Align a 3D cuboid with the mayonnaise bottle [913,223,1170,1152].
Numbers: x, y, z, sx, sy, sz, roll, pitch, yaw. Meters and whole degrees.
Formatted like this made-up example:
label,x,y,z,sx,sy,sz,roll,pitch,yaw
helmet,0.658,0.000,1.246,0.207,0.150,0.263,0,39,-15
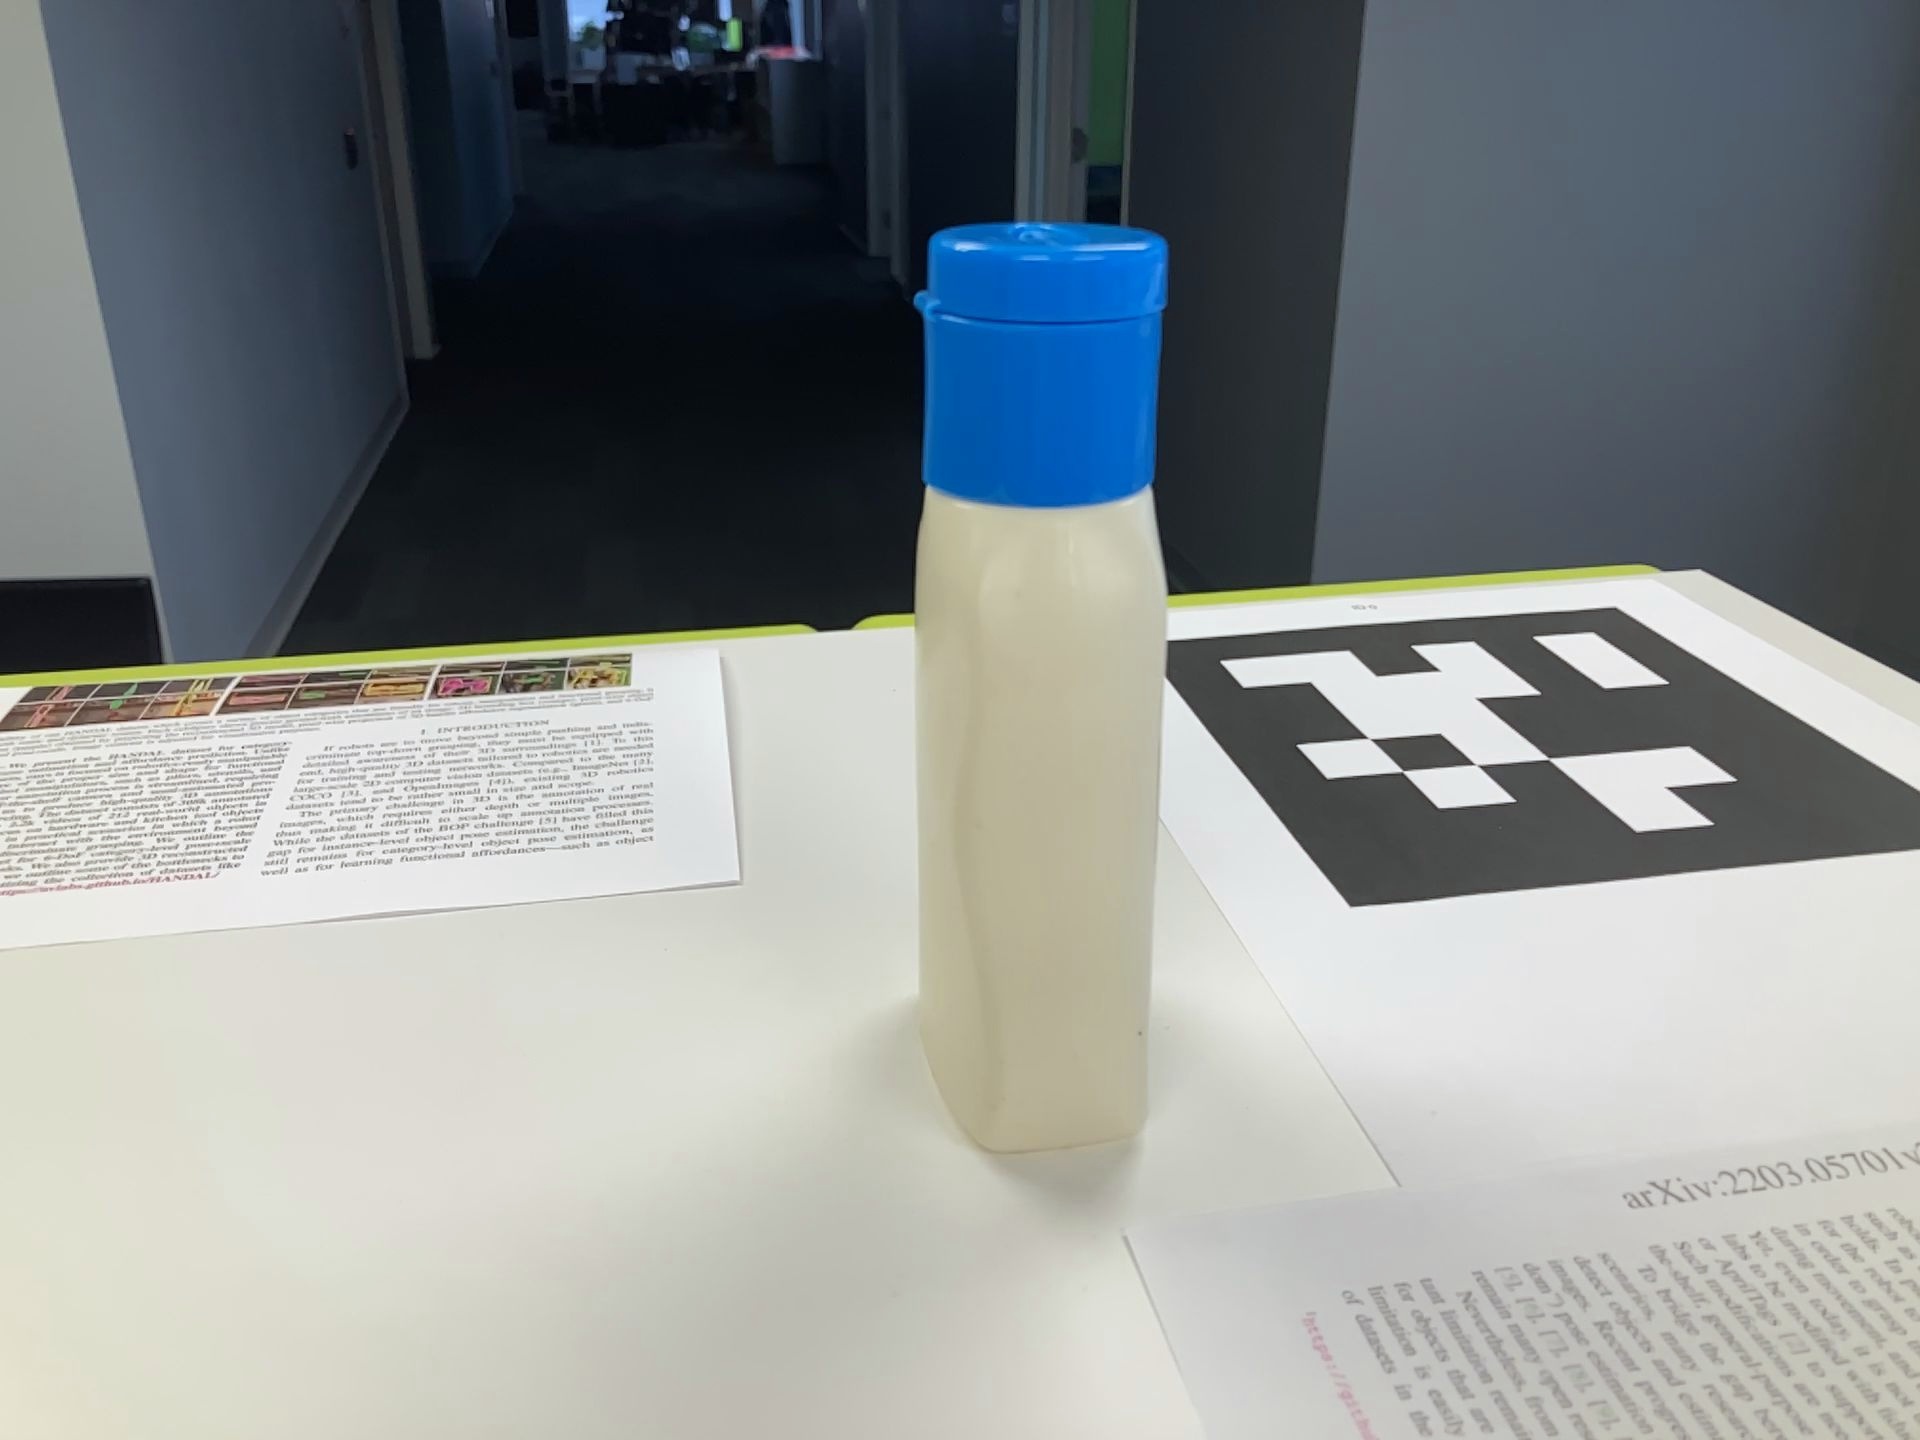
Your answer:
label,x,y,z,sx,sy,sz,roll,pitch,yaw
mayonnaise bottle,0.013,-0.005,0.266,0.041,0.148,0.065,-4,24,-10
